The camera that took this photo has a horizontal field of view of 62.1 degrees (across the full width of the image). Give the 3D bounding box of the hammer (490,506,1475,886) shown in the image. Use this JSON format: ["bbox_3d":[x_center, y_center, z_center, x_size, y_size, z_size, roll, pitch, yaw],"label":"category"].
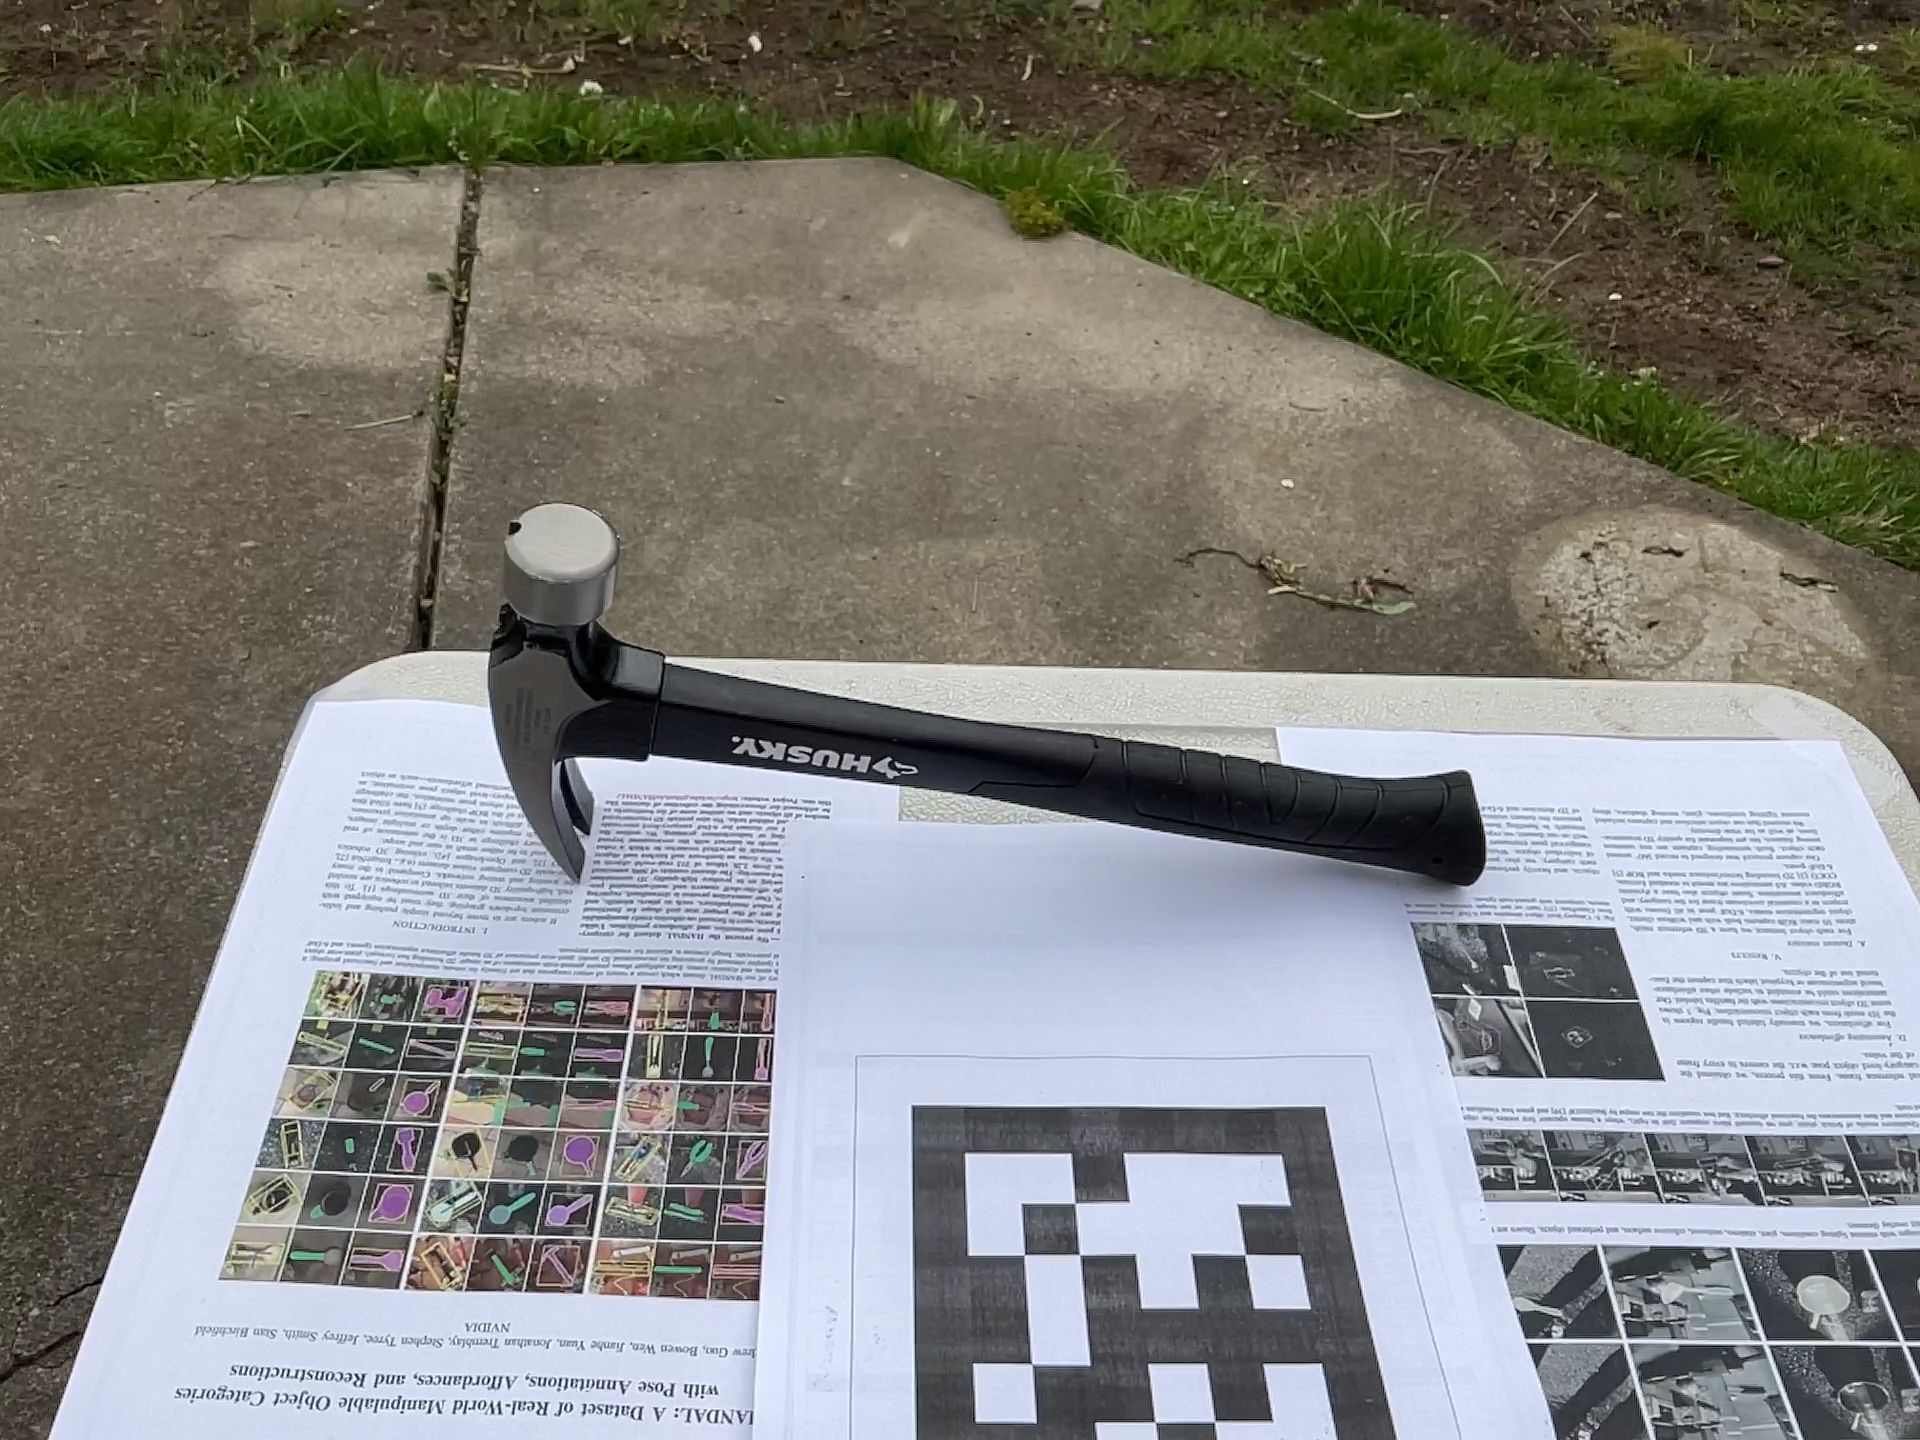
[{"bbox_3d":[0.016,0.019,0.532,0.334,0.146,0.035,9,49,-11],"label":"hammer"}]
